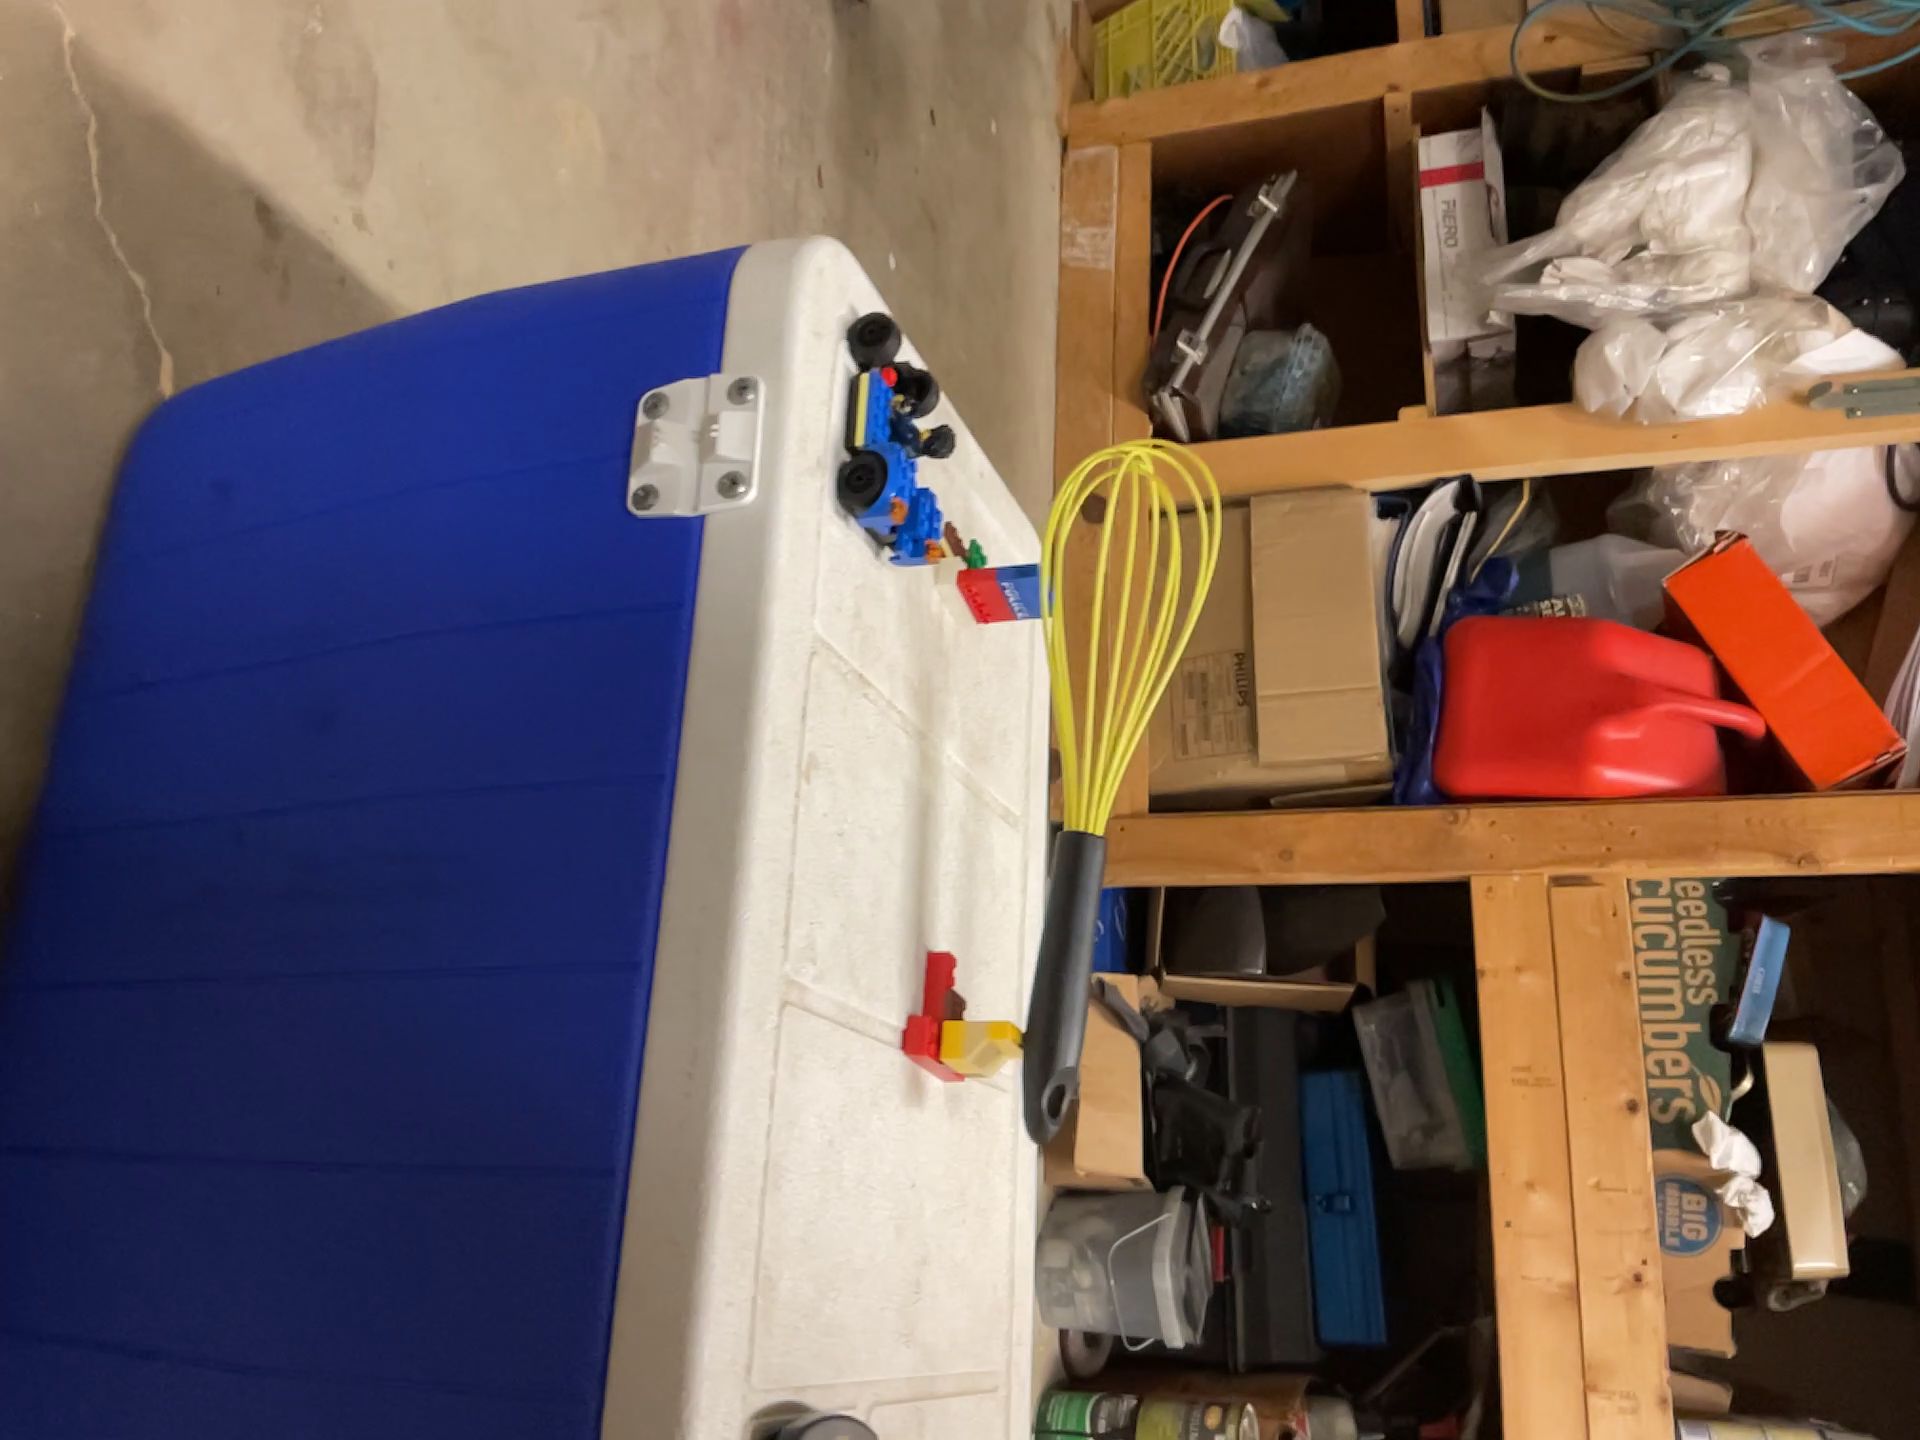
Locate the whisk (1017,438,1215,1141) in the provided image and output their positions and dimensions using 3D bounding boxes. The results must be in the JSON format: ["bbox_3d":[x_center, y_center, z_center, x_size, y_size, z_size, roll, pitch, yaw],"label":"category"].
[{"bbox_3d":[0.055,0.021,0.684,0.080,0.067,0.312,16,74,-21],"label":"whisk"}]
